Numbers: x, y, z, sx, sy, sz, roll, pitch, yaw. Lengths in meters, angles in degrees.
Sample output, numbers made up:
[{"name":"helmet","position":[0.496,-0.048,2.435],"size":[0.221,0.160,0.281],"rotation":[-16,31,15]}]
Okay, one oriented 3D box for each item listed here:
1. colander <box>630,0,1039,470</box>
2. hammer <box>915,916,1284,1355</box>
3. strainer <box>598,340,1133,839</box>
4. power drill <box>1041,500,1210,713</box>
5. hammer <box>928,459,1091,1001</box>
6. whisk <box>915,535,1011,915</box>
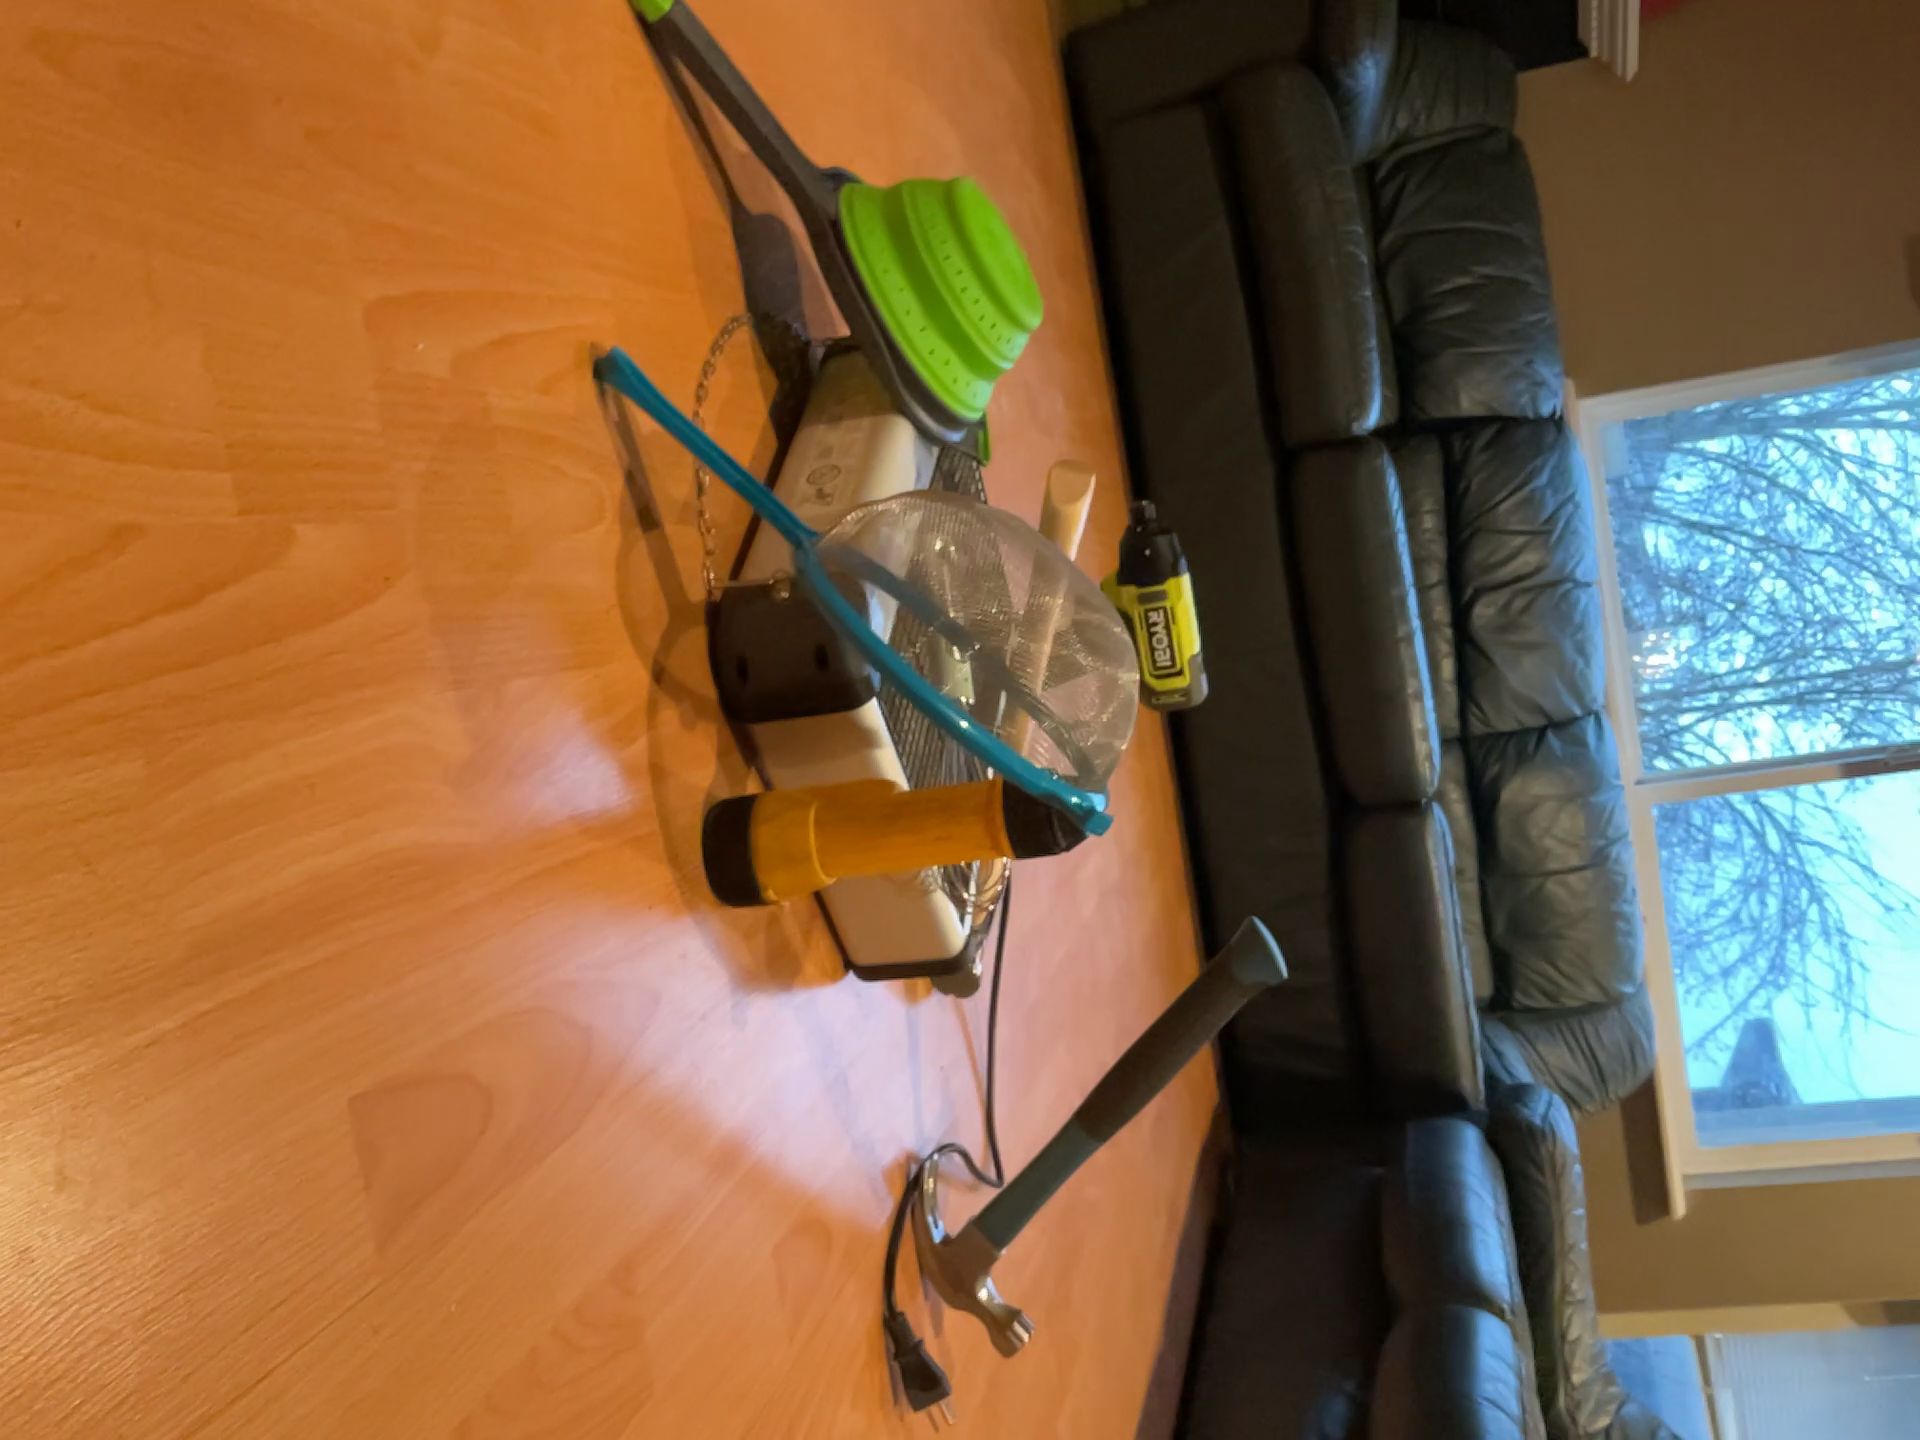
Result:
[{"name":"colander","position":[-0.055,-0.335,1.021],"size":[0.397,0.094,0.205],"rotation":[46,28,-39]},{"name":"hammer","position":[0.095,0.264,1.068],"size":[0.128,0.331,0.033],"rotation":[43,9,11]},{"name":"strainer","position":[-0.028,-0.095,0.815],"size":[0.340,0.095,0.211],"rotation":[42,10,-7]},{"name":"power drill","position":[0.084,-0.082,1.335],"size":[0.080,0.223,0.171],"rotation":[-41,122,-74]},{"name":"hammer","position":[0.040,0.004,1.185],"size":[0.146,0.038,0.410],"rotation":[-67,169,-63]},{"name":"whisk","position":[-0.003,-0.001,0.986],"size":[0.058,0.059,0.246],"rotation":[11,65,-44]}]
